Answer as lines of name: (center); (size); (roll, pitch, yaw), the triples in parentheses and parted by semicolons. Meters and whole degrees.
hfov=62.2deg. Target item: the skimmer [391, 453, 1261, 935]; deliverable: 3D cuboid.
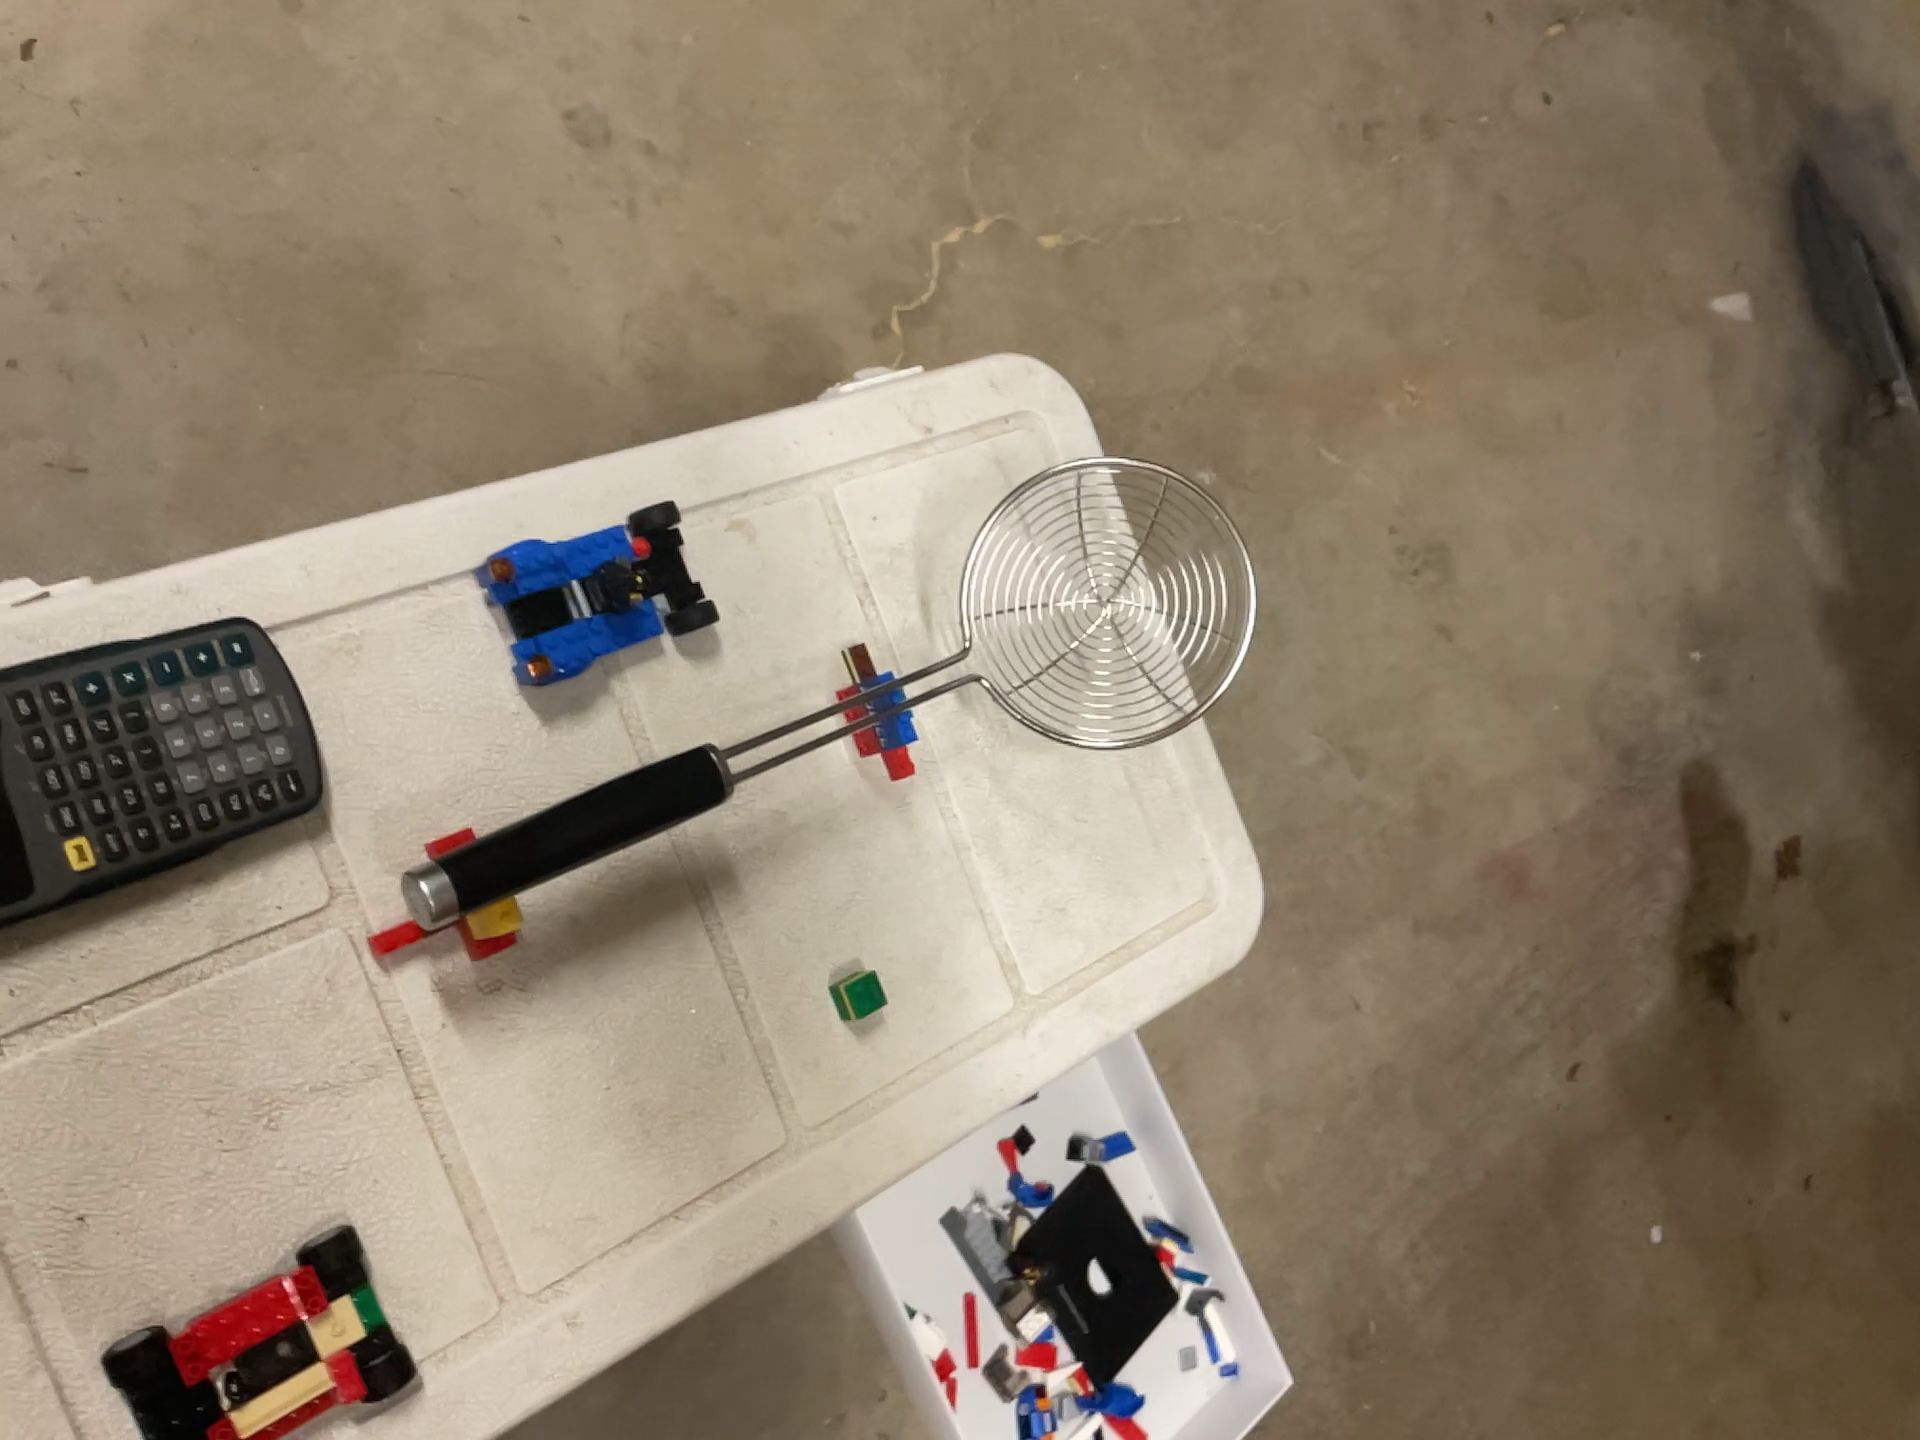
skimmer: (-0.034, -0.007, 0.608); (0.363, 0.090, 0.127); (-24, 92, -36)
